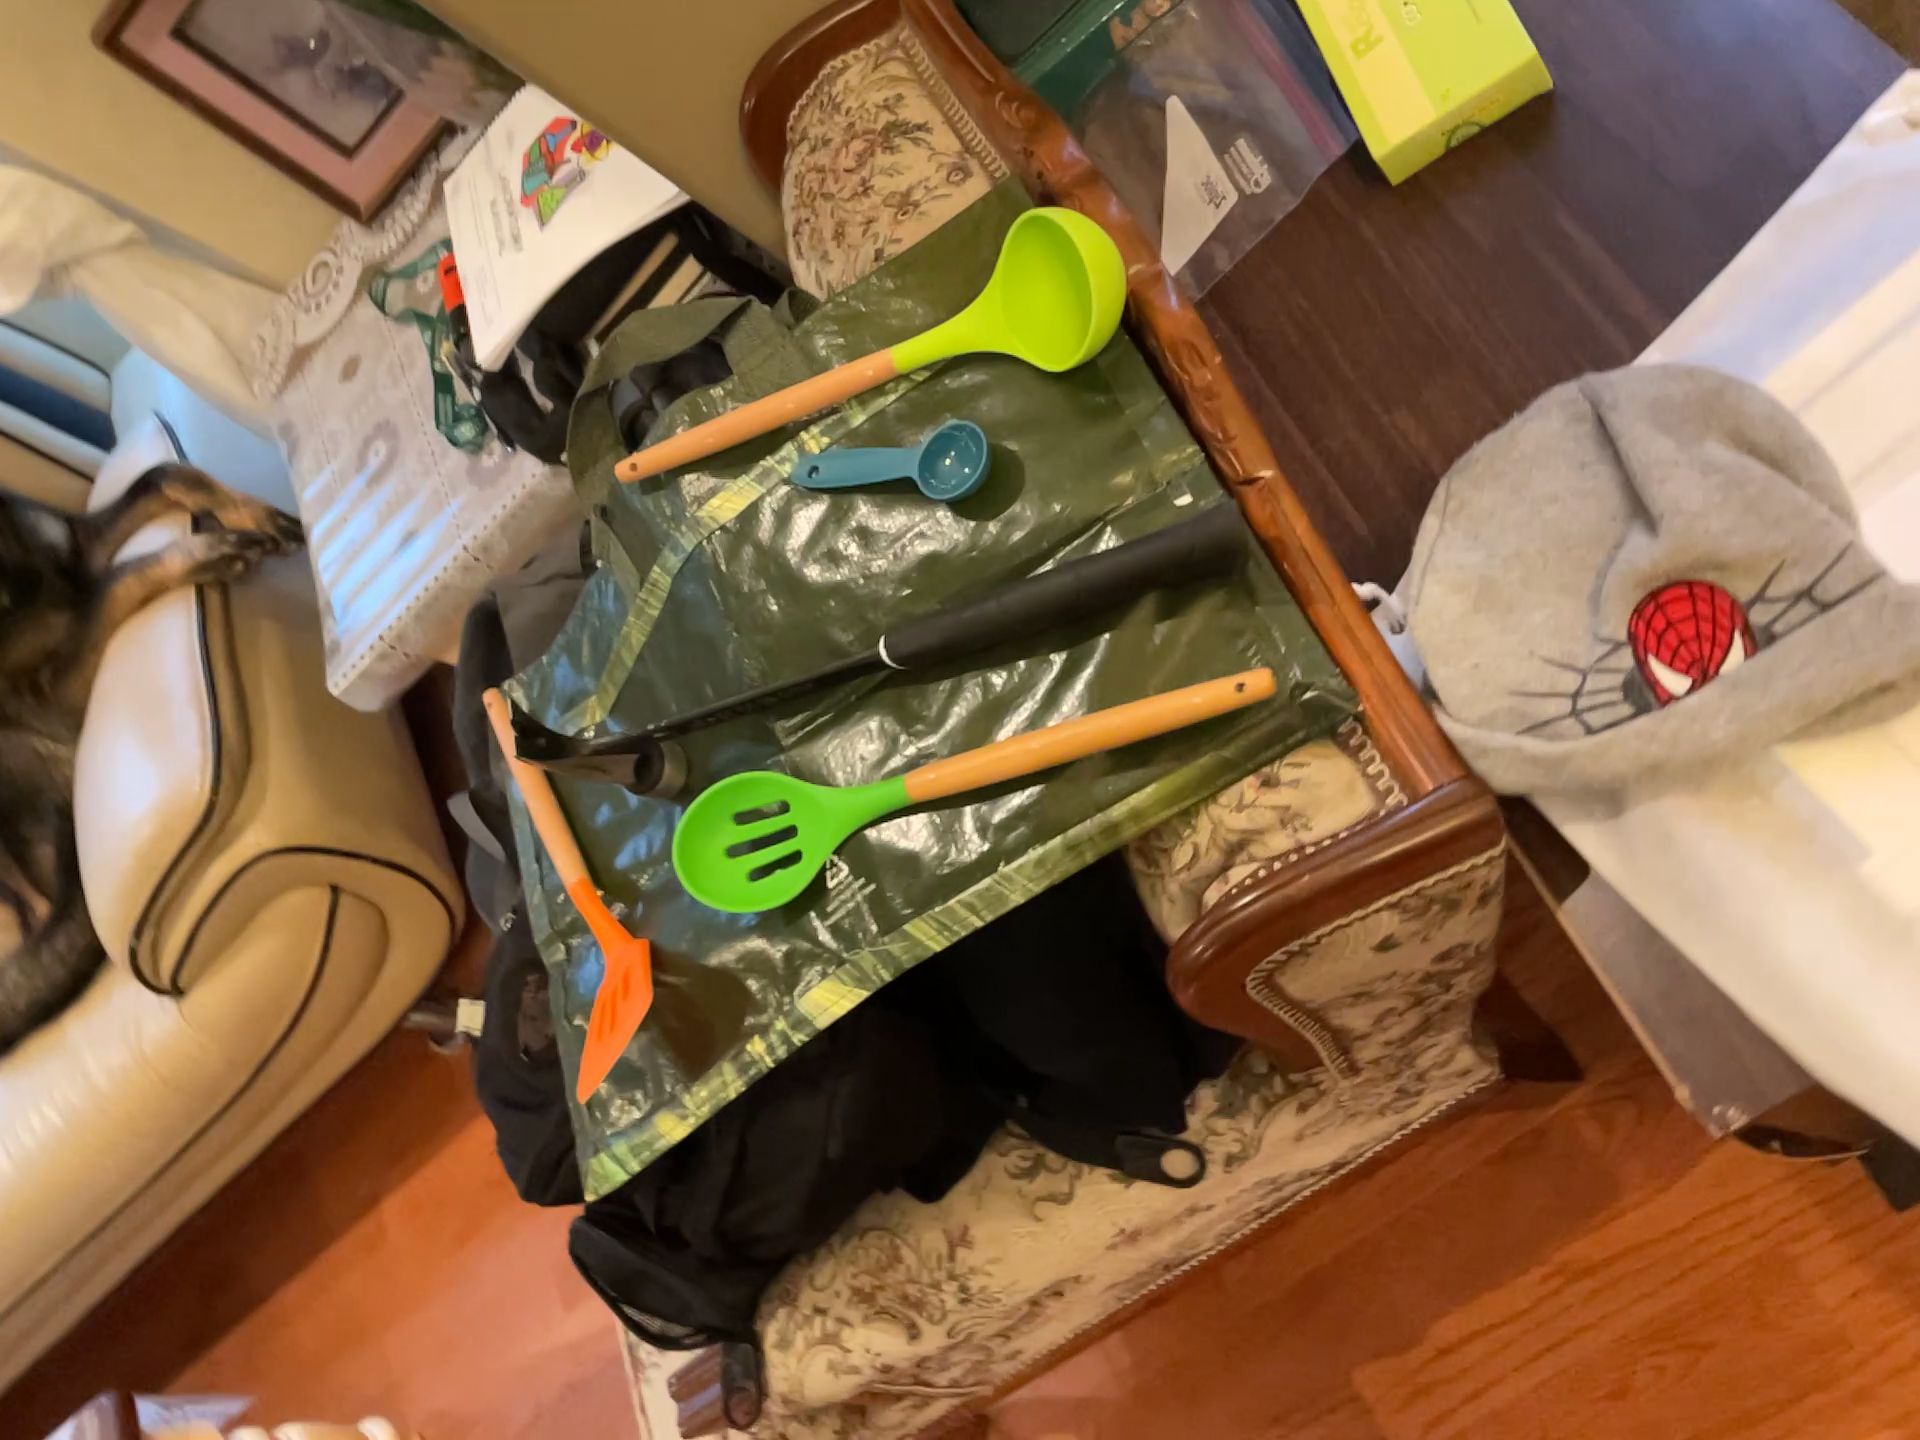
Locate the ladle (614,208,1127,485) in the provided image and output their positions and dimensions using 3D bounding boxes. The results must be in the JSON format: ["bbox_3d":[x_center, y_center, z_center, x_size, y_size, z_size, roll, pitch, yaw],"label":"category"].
[{"bbox_3d":[-0.060,-0.179,0.831,0.320,0.062,0.078,-16,91,25],"label":"ladle"}]

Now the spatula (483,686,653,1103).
[{"bbox_3d":[-0.243,0.082,0.948,0.081,0.041,0.323,-53,48,20],"label":"spatula"}]

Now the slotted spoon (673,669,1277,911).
[{"bbox_3d":[0.000,0.028,0.761,0.314,0.031,0.070,-18,80,21],"label":"slotted spoon"}]

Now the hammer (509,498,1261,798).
[{"bbox_3d":[-0.044,-0.033,0.796,0.409,0.149,0.036,-17,74,24],"label":"hammer"}]

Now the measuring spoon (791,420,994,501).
[{"bbox_3d":[-0.034,-0.129,0.820,0.129,0.021,0.042,3,75,36],"label":"measuring spoon"}]
